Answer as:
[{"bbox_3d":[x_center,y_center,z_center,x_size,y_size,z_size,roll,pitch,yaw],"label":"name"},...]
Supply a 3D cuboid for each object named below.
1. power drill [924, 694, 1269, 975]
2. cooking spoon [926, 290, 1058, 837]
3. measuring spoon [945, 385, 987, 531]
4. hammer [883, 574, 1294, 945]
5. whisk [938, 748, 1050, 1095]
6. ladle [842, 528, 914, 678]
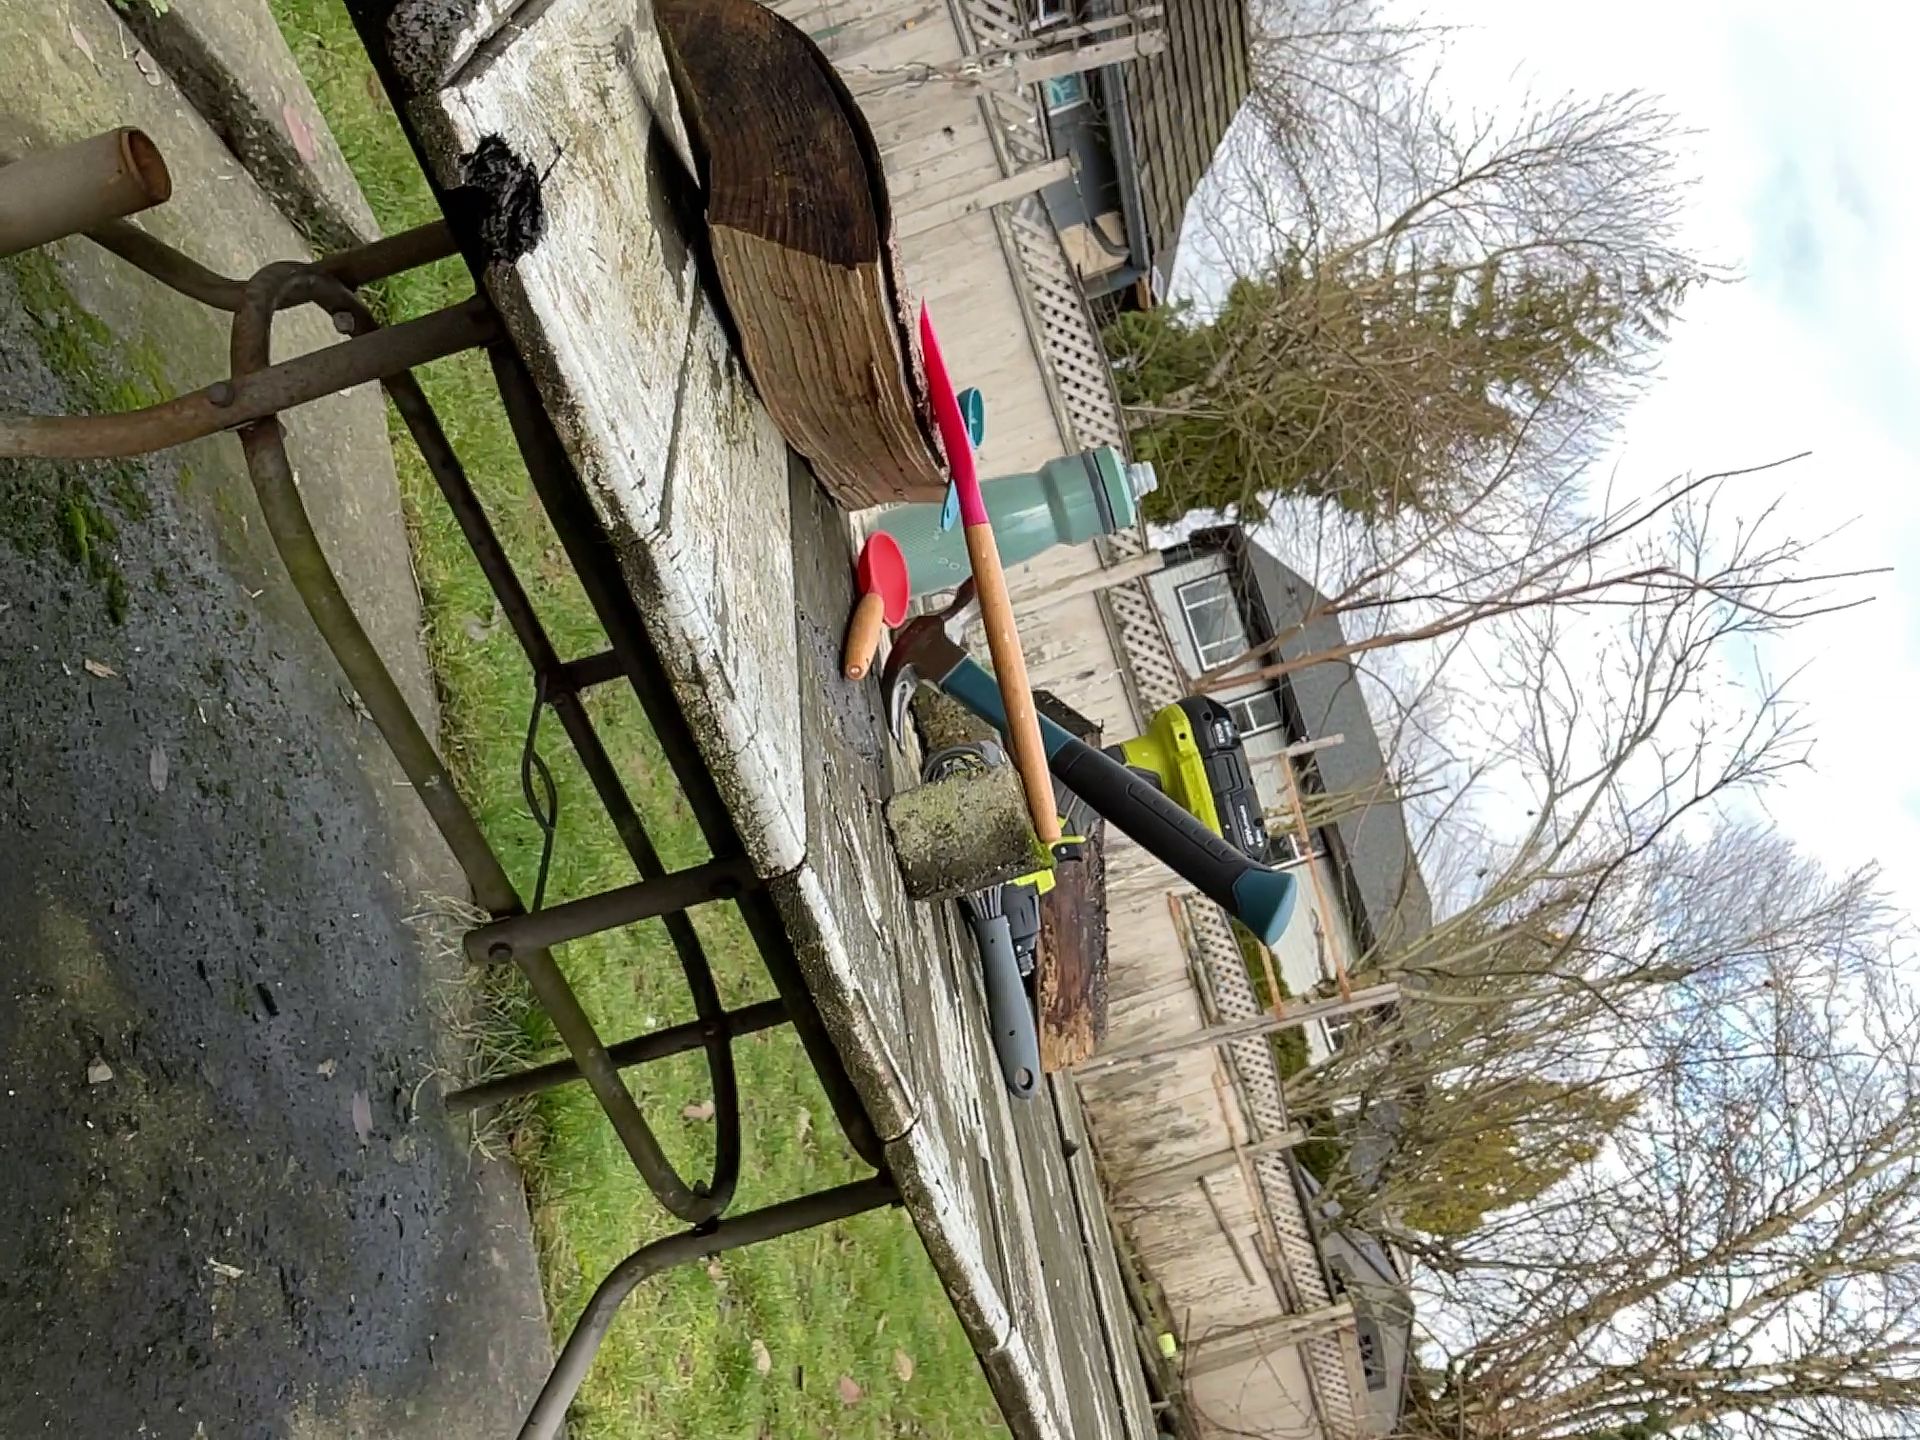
[{"bbox_3d":[0.101,0.080,1.164,0.080,0.223,0.171,136,-61,-86],"label":"power drill"},{"bbox_3d":[0.016,-0.090,0.913,0.068,0.017,0.319,37,40,-85],"label":"cooking spoon"},{"bbox_3d":[-0.004,-0.176,1.081,0.042,0.021,0.129,69,27,-50],"label":"measuring spoon"},{"bbox_3d":[0.076,0.029,1.002,0.331,0.128,0.033,37,-15,33],"label":"hammer"},{"bbox_3d":[0.027,0.136,1.075,0.055,0.055,0.239,-11,87,-78],"label":"whisk"},{"bbox_3d":[-0.055,-0.070,1.030,0.315,0.031,0.069,-85,160,-74],"label":"ladle"}]
